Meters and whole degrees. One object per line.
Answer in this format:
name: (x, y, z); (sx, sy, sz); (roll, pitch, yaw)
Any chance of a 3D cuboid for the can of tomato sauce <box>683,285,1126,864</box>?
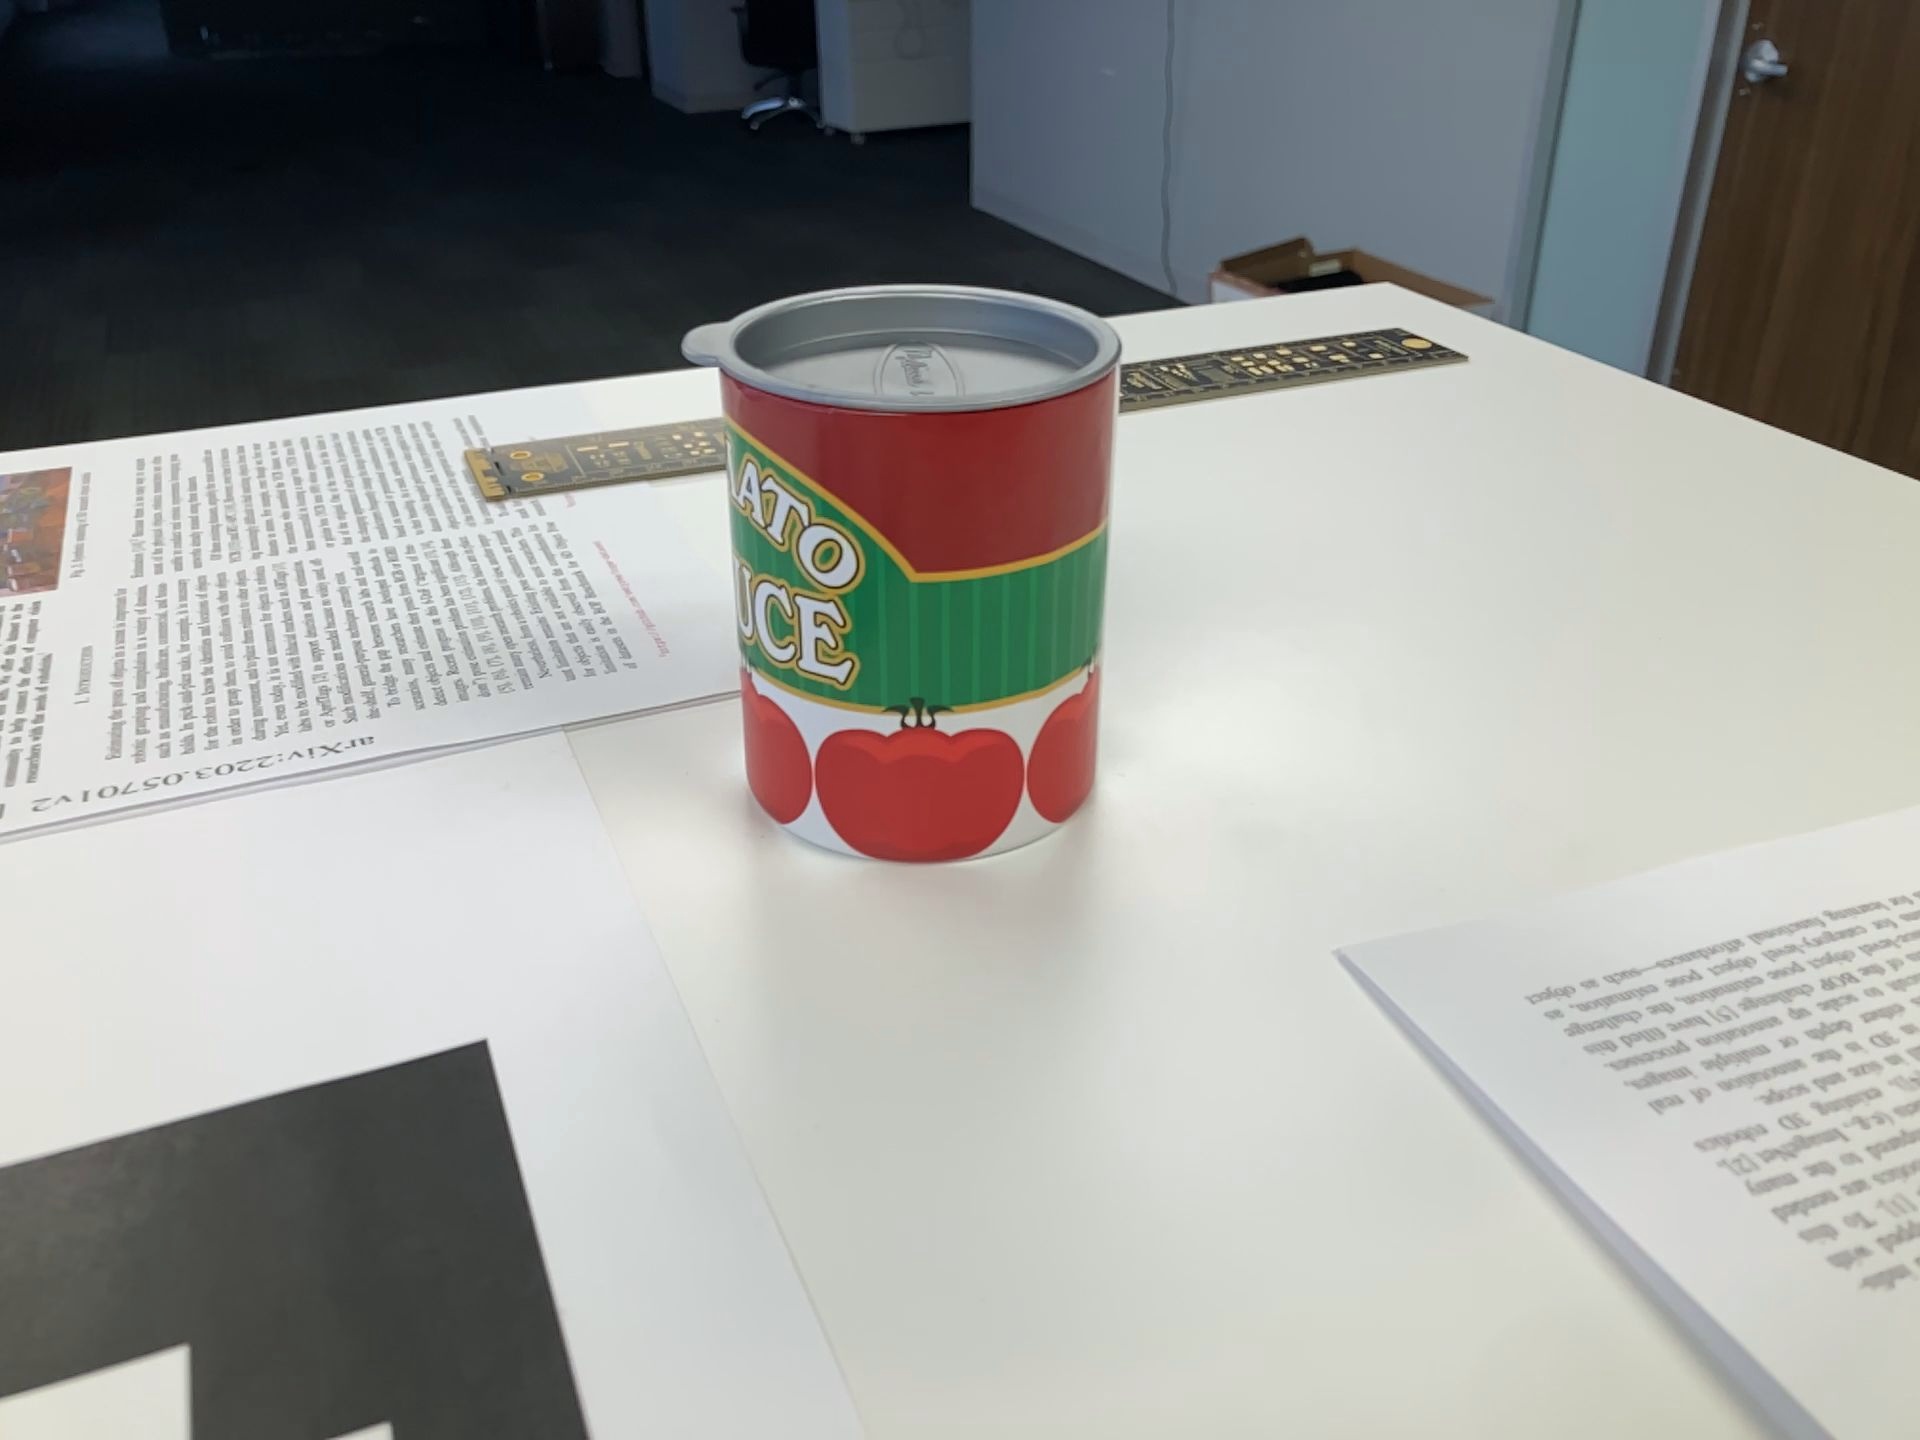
can of tomato sauce: (-0.009, -0.026, 0.277); (0.071, 0.083, 0.071); (0, 29, 0)
